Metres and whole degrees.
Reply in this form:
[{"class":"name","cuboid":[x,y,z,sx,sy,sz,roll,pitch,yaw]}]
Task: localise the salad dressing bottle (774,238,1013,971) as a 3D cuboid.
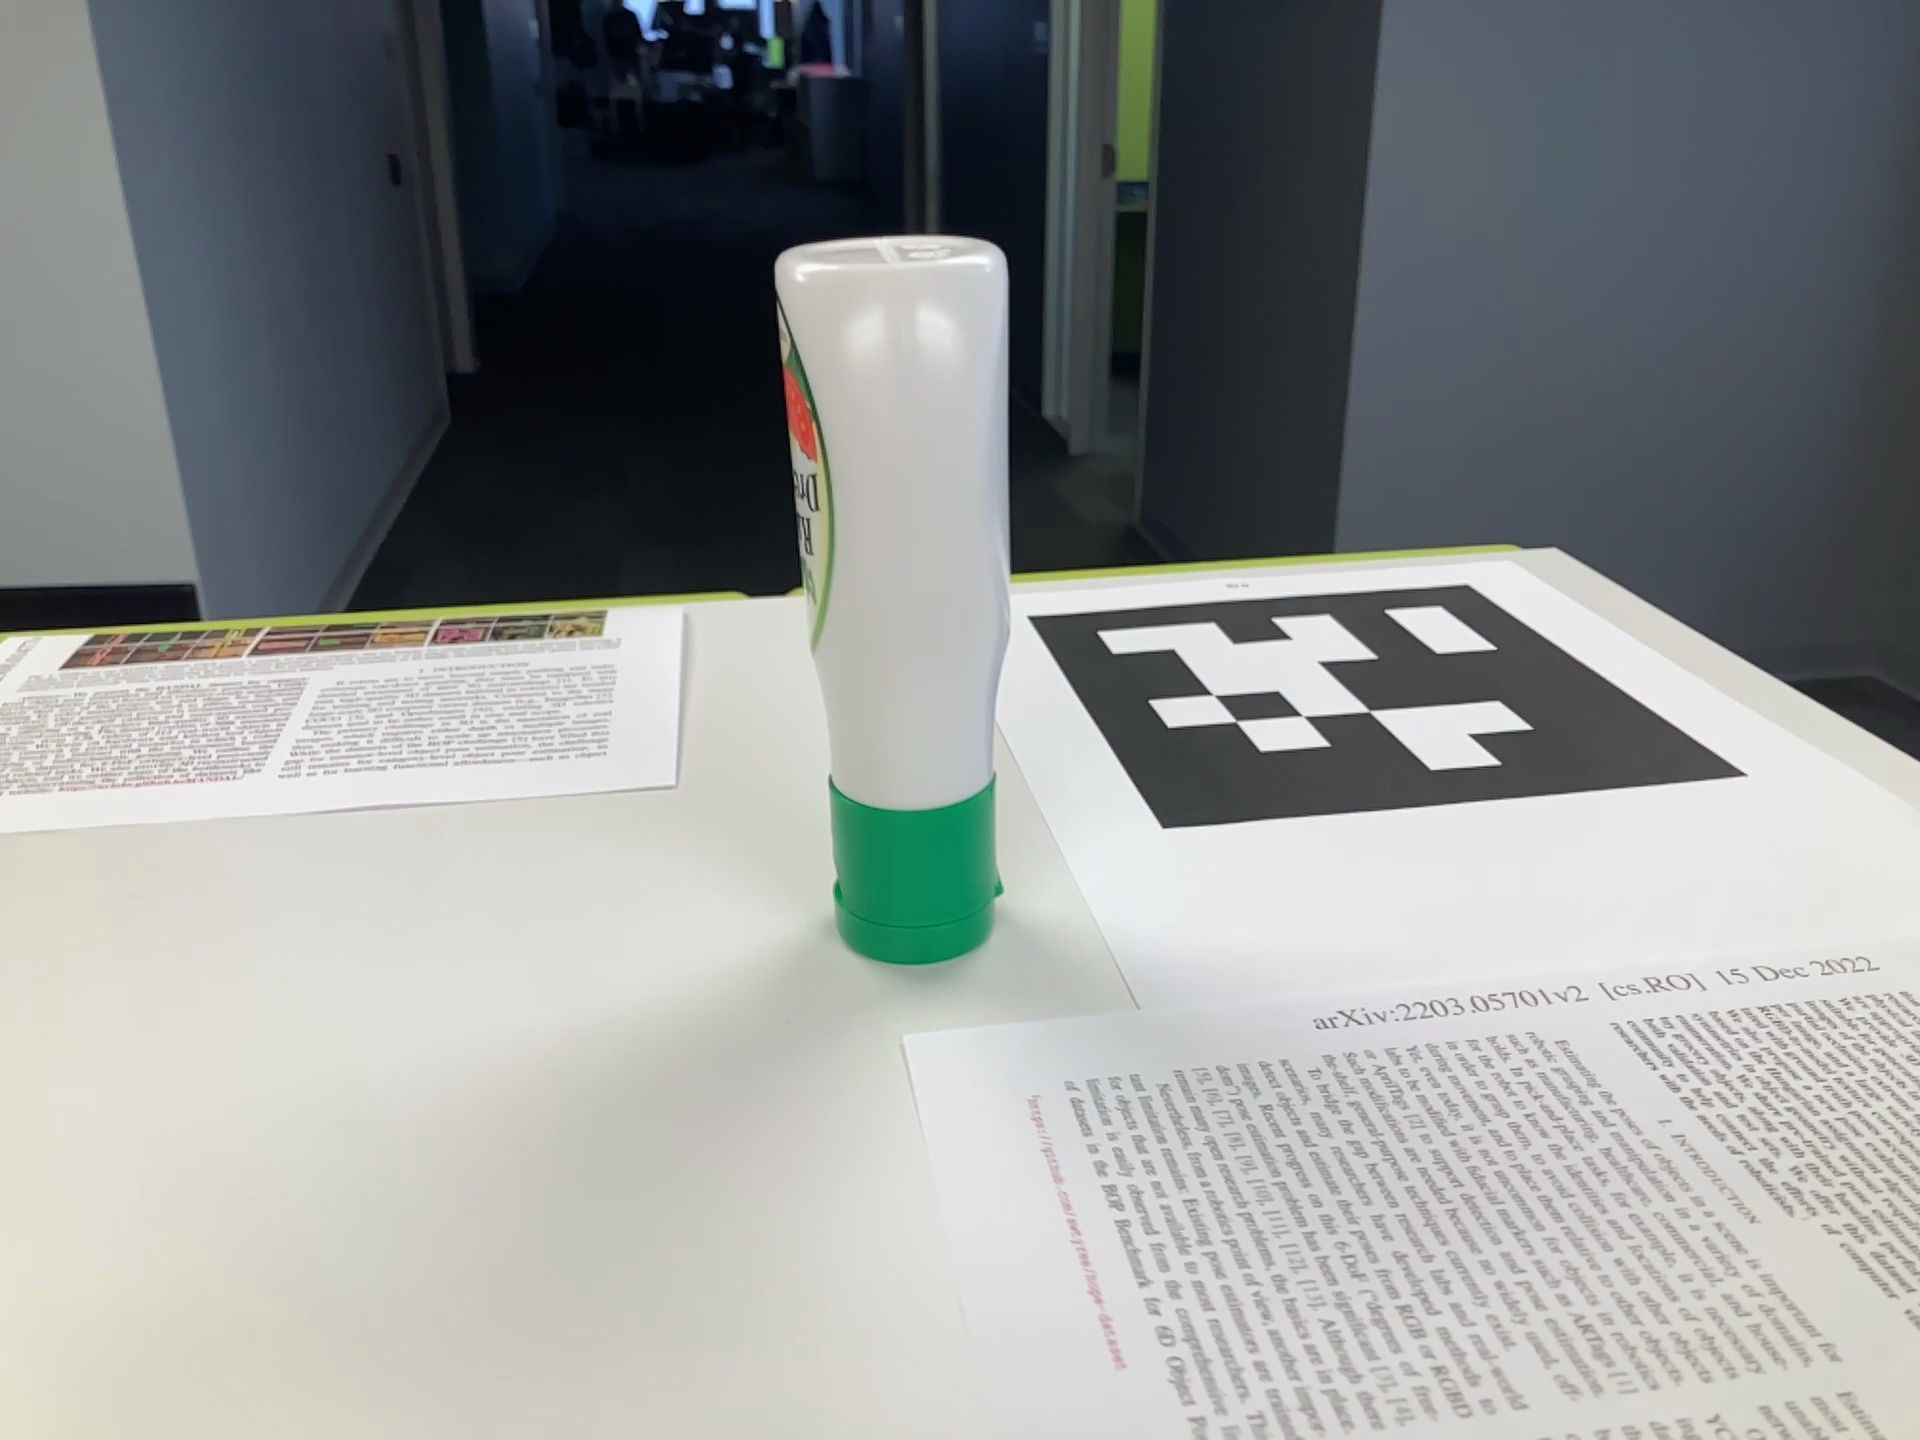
[{"class":"salad dressing bottle","cuboid":[-0.011,-0.020,0.326,0.044,0.147,0.064,-4,23,-6]}]
